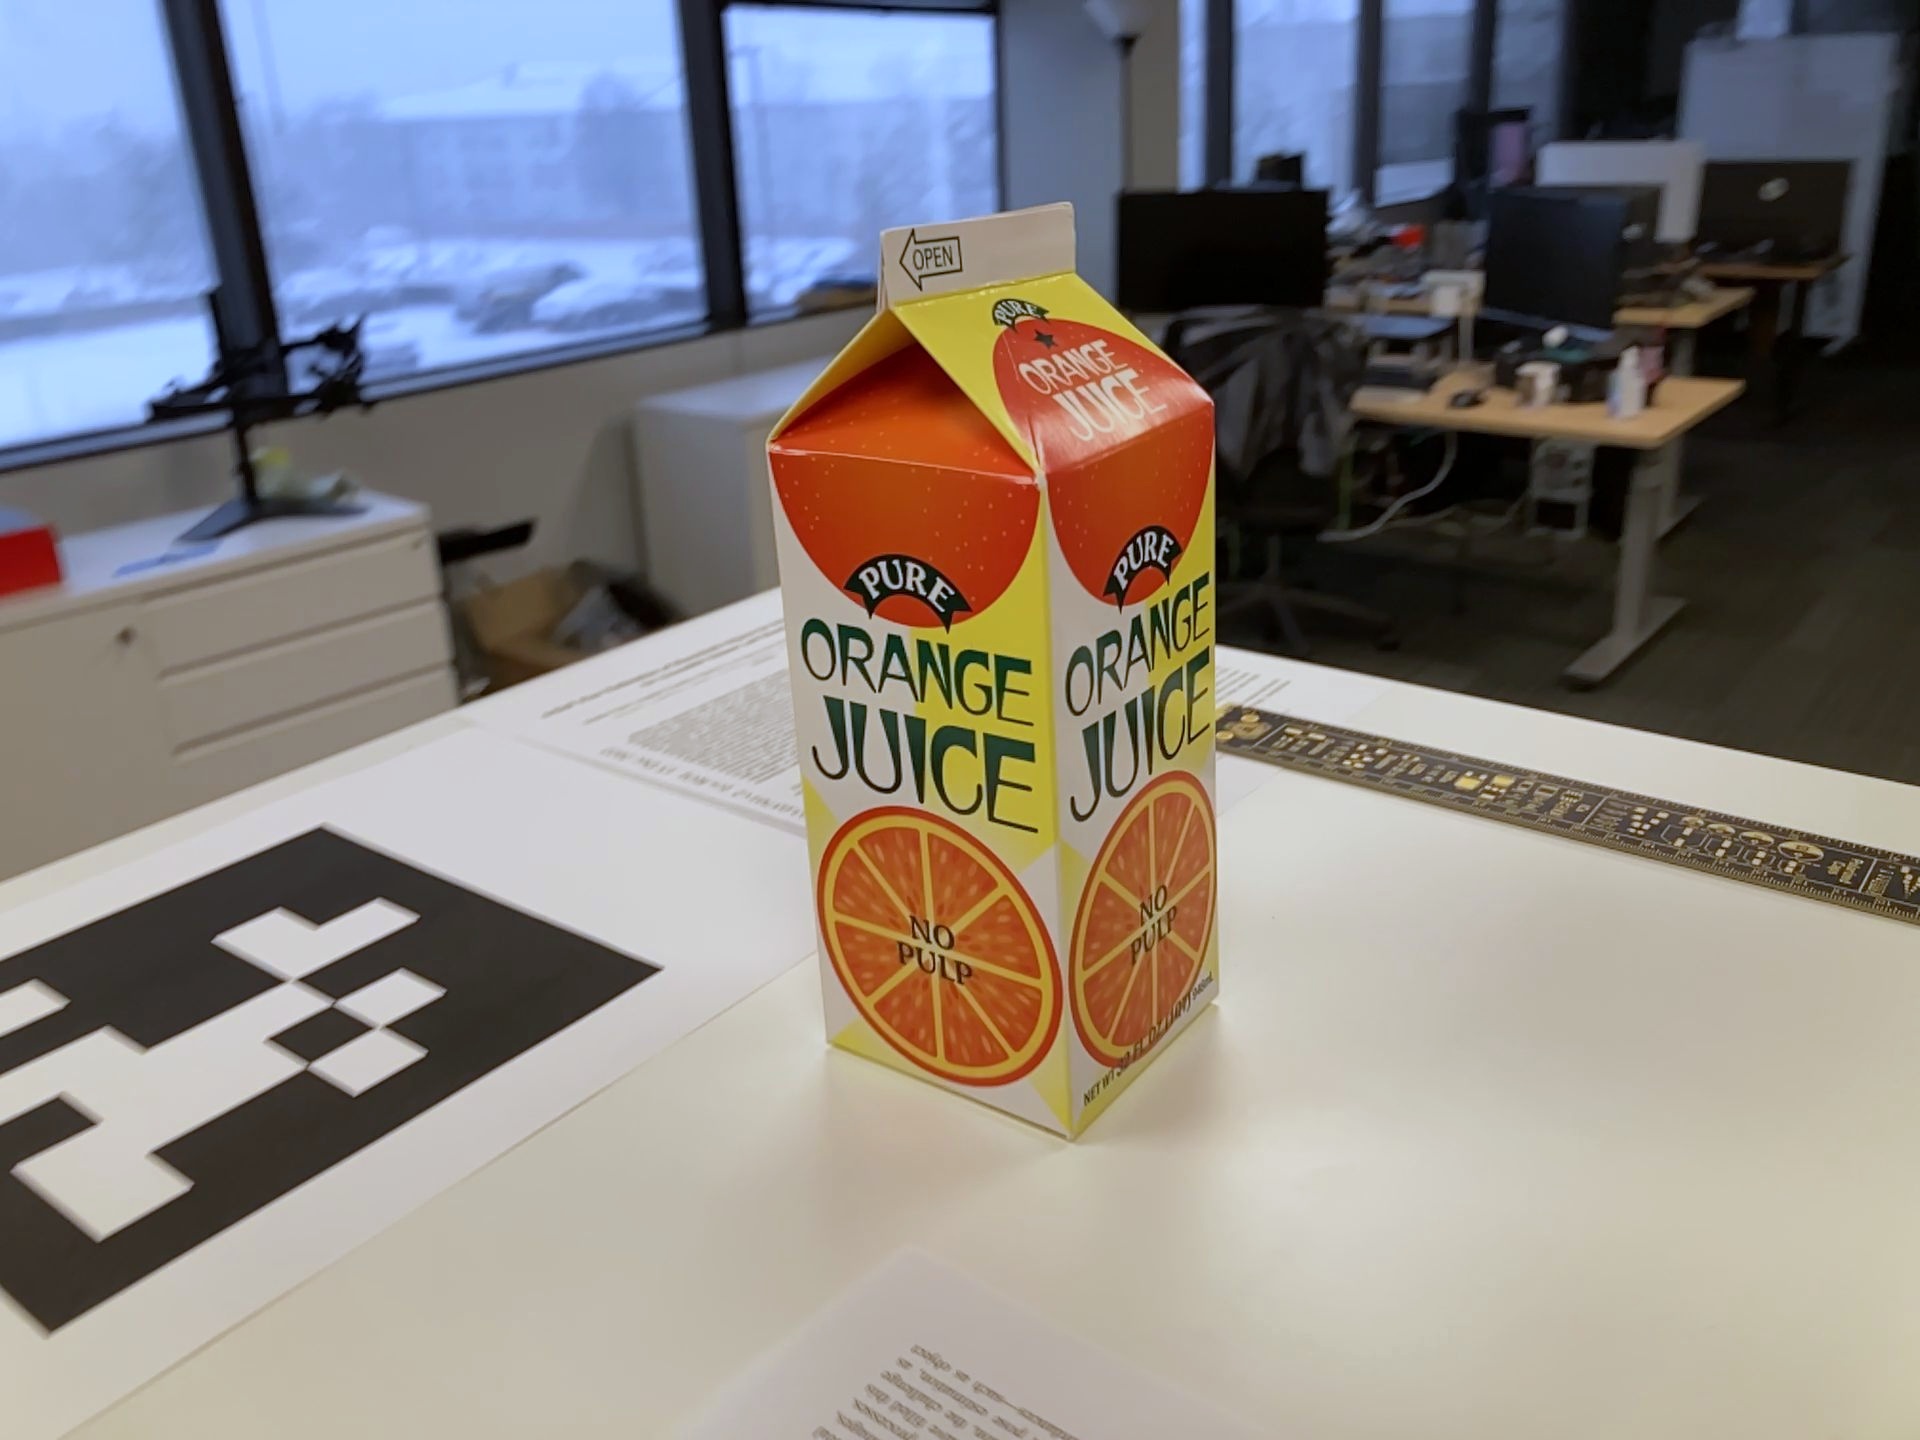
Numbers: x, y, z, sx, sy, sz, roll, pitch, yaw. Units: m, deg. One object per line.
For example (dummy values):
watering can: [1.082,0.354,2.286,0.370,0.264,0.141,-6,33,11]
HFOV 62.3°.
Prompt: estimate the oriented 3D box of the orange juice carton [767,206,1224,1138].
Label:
orange juice carton: [0.011,-0.014,0.359,0.073,0.192,0.072,12,26,35]
